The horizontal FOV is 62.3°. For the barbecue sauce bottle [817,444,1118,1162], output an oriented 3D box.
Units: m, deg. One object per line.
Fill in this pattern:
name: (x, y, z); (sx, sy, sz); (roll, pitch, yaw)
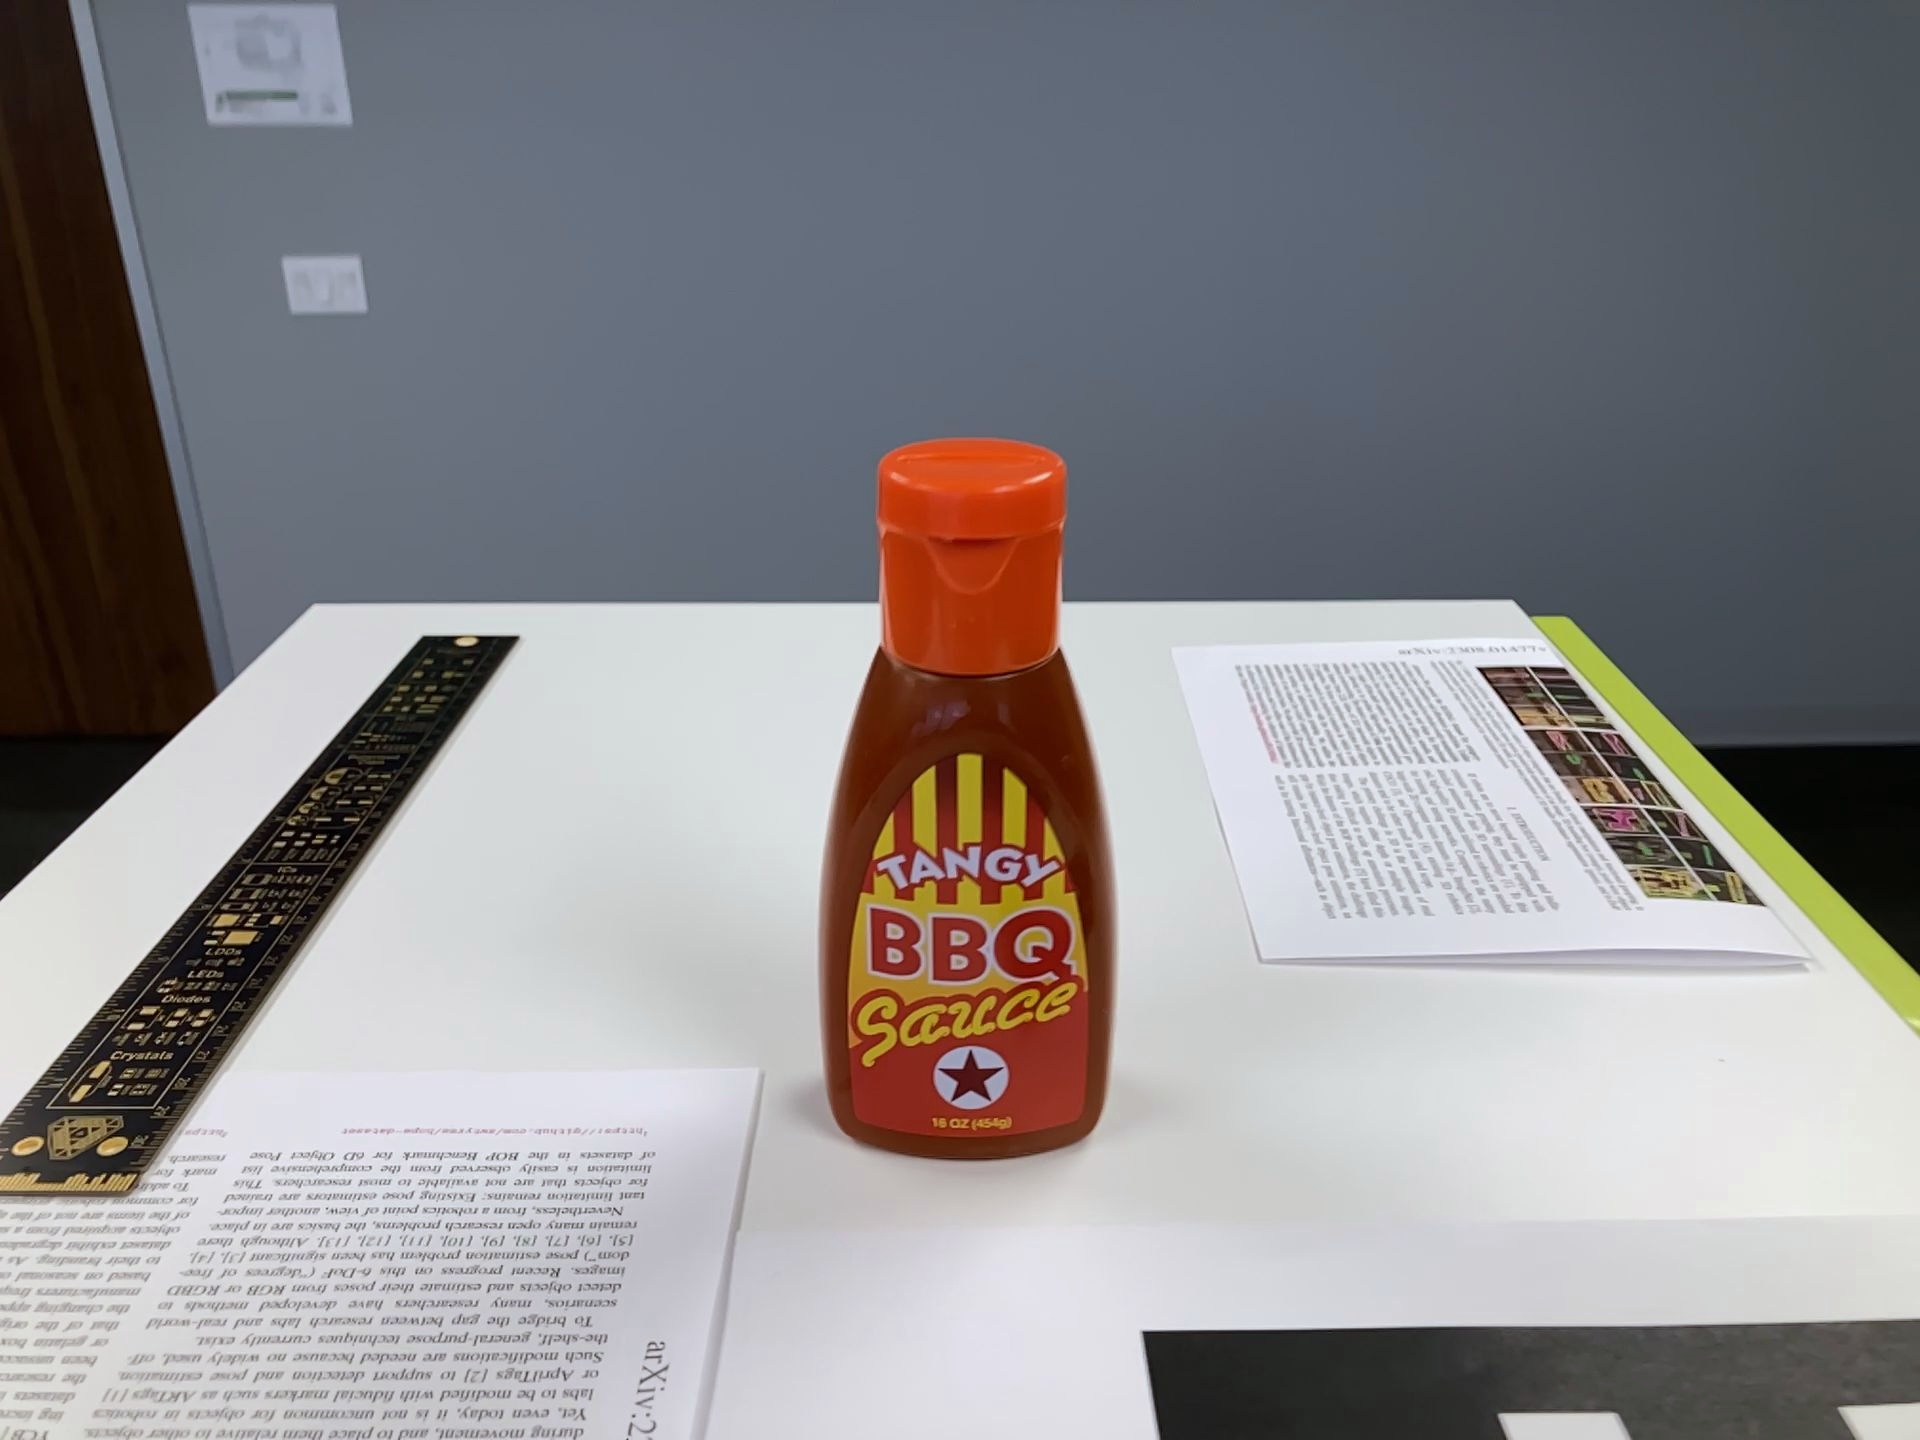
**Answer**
barbecue sauce bottle: (0.002, 0.019, 0.330); (0.065, 0.148, 0.043); (1, 23, 1)
